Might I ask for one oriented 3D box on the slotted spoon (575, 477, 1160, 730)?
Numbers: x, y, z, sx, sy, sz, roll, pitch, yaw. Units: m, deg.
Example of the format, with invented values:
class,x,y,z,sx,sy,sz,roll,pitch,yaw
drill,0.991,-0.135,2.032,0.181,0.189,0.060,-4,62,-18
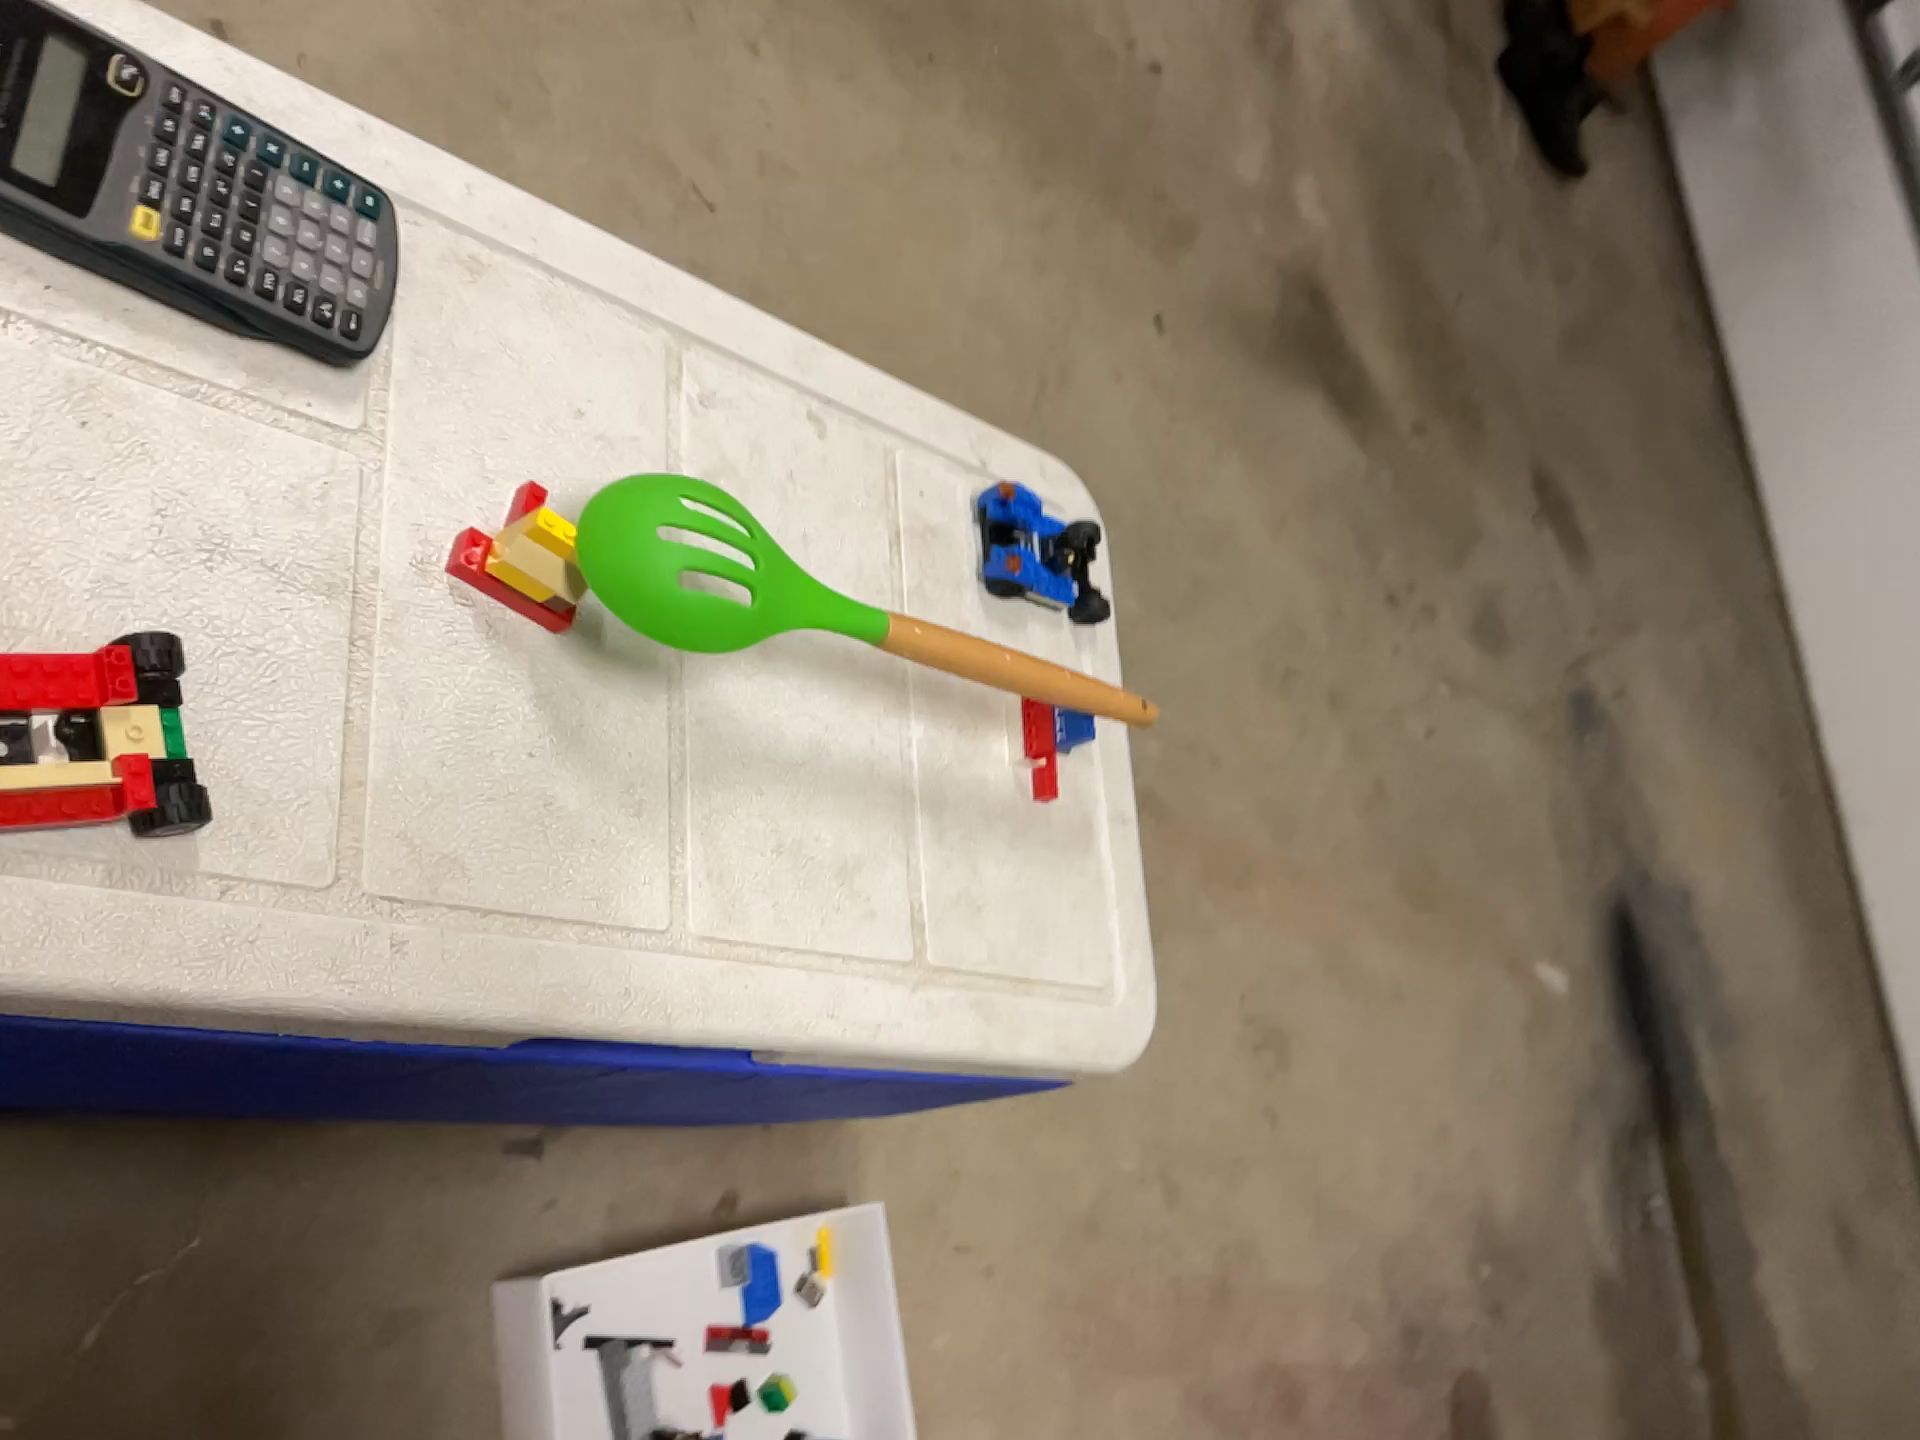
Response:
class,x,y,z,sx,sy,sz,roll,pitch,yaw
slotted spoon,-0.016,-0.033,0.657,0.313,0.031,0.070,16,61,-44
